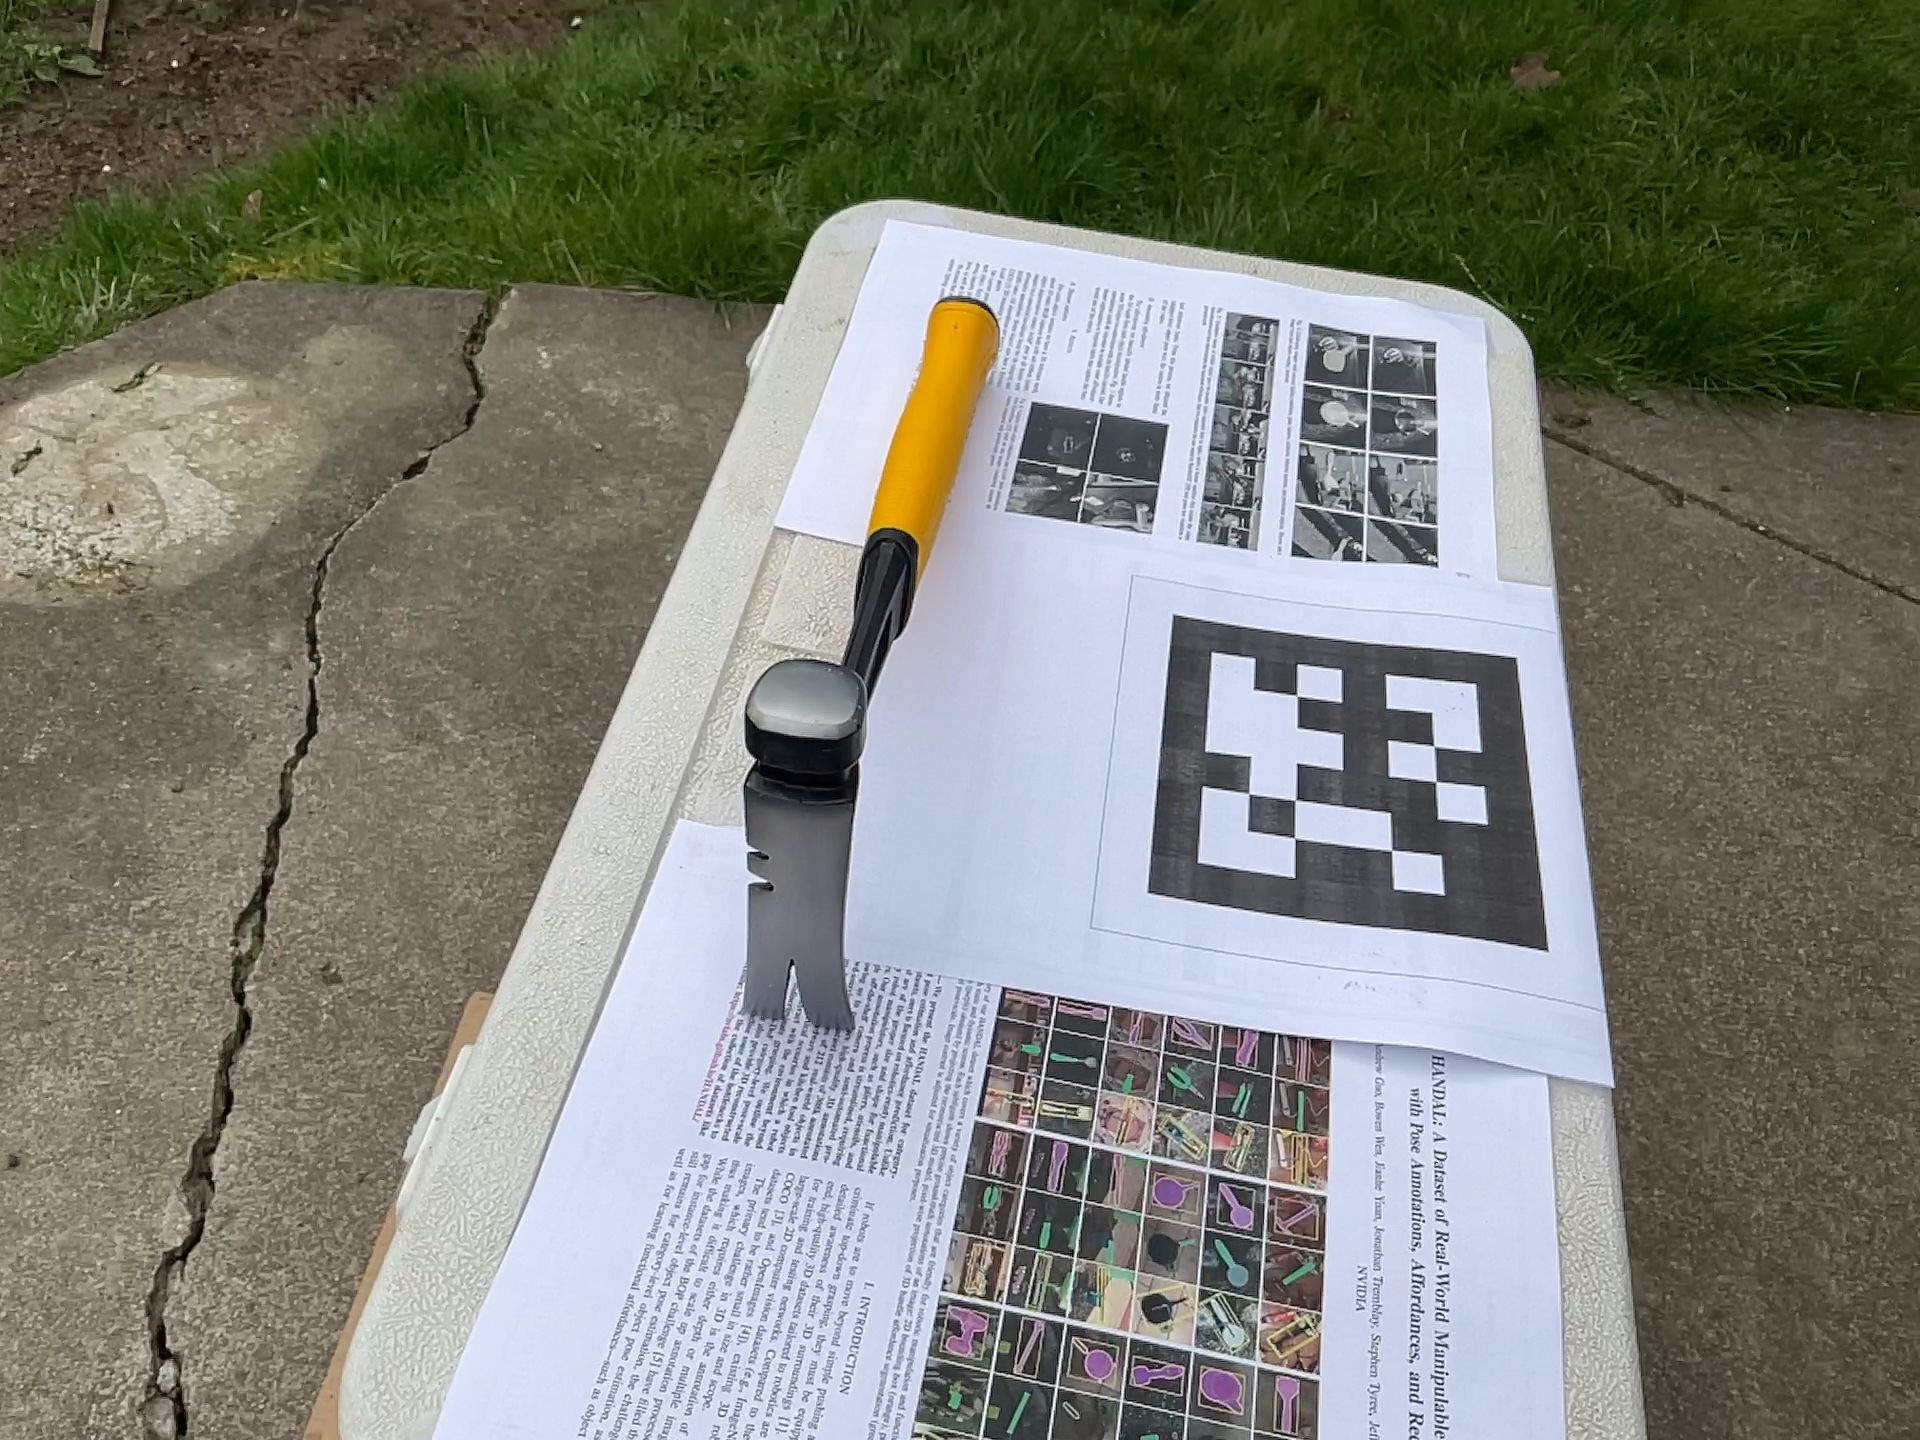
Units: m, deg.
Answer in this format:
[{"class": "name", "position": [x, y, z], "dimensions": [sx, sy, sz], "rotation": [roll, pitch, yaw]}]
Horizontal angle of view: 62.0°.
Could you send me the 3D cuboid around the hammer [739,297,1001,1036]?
[{"class": "hammer", "position": [-0.022, -0.053, 0.557], "dimensions": [0.034, 0.127, 0.337], "rotation": [9, 39, 3]}]
